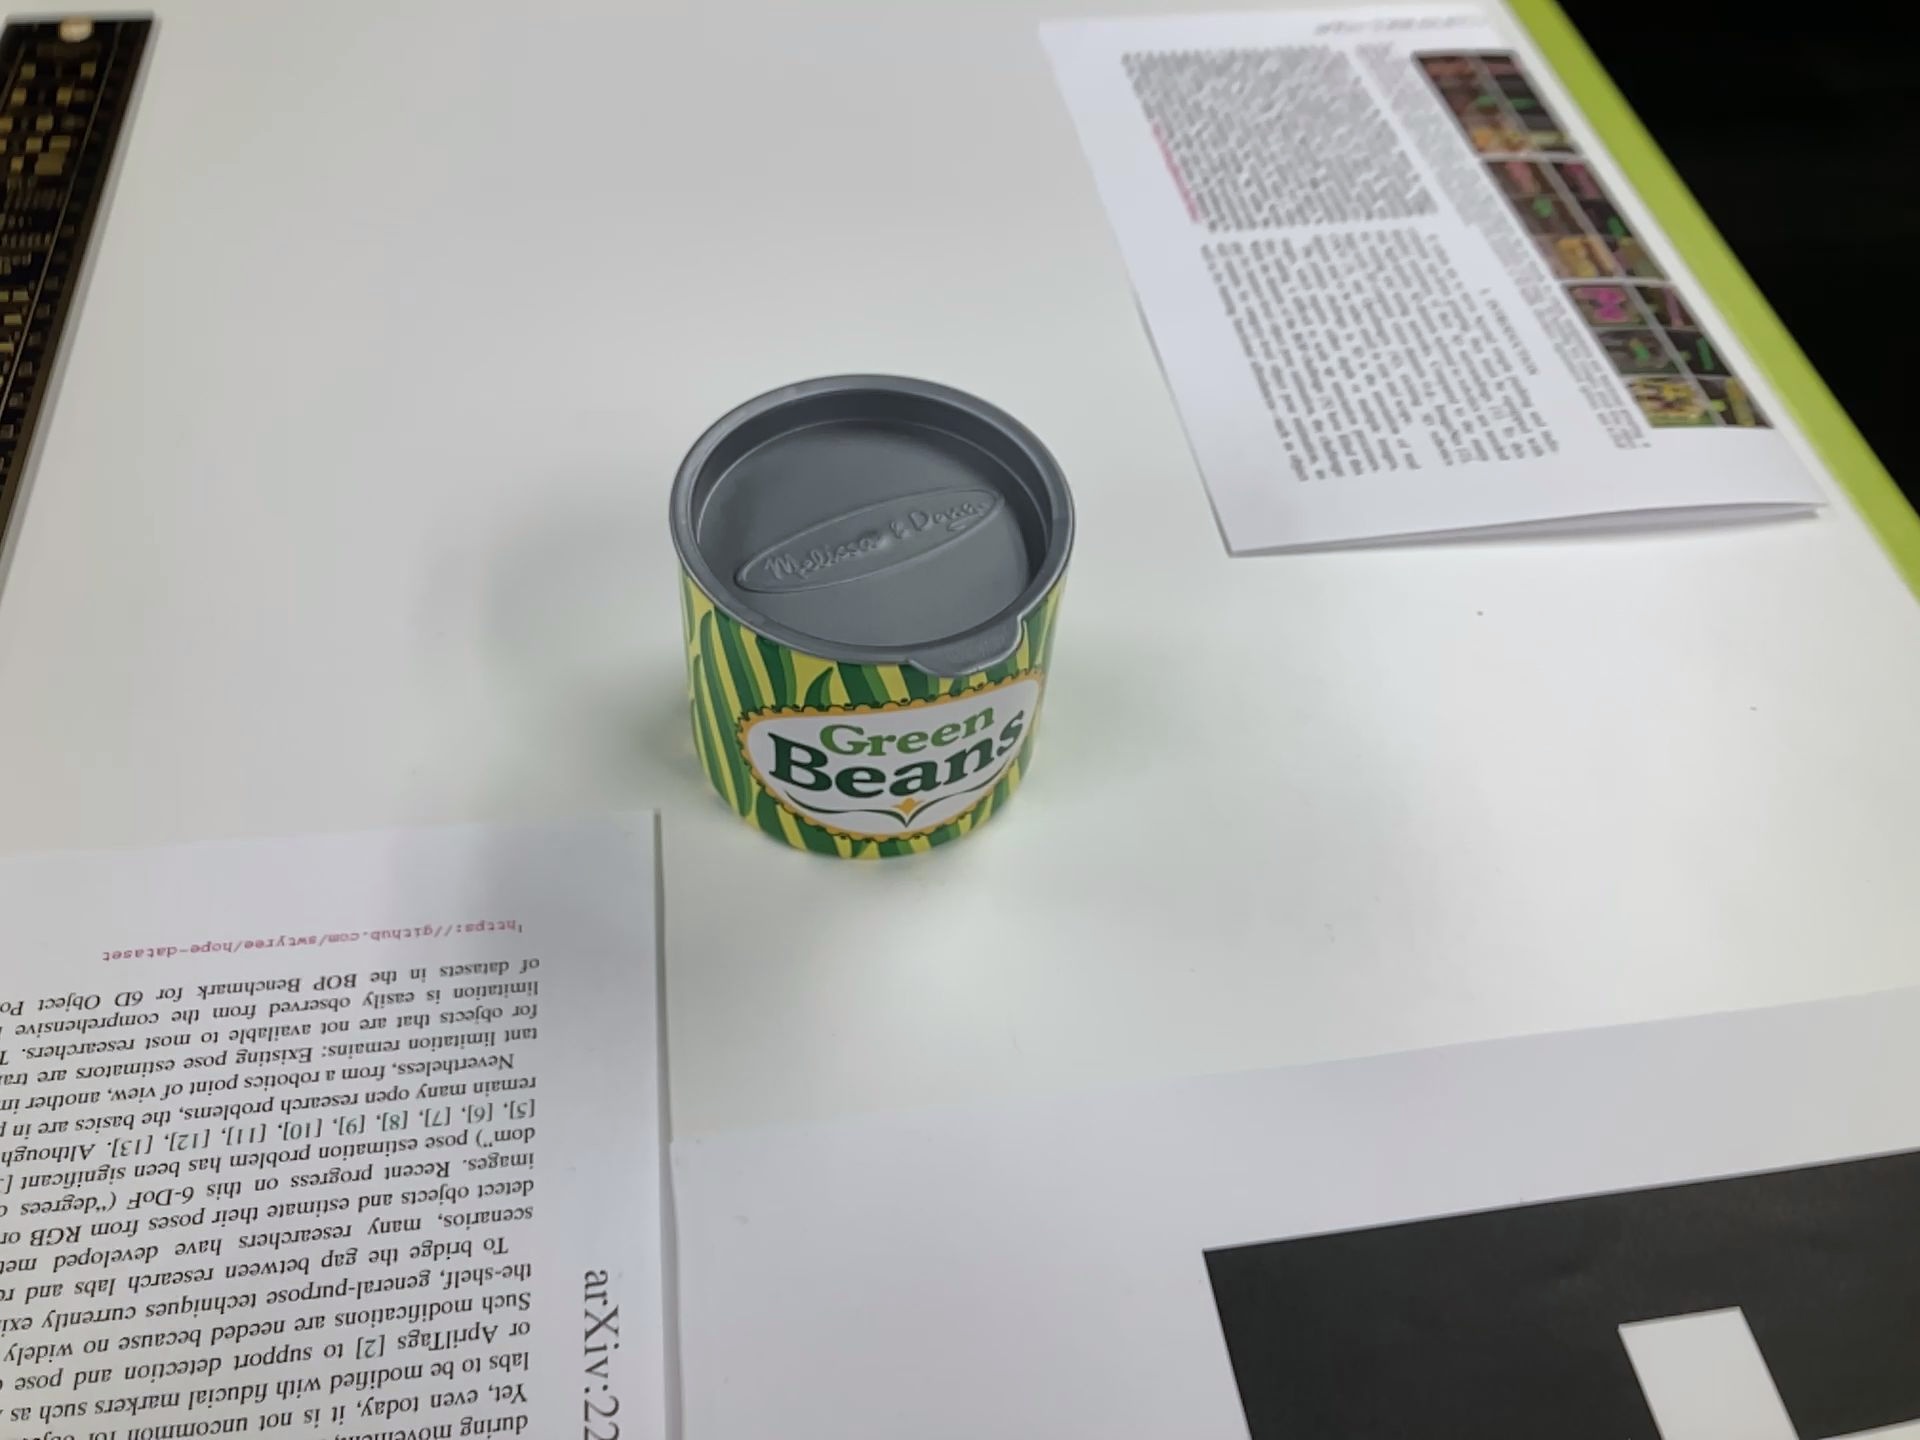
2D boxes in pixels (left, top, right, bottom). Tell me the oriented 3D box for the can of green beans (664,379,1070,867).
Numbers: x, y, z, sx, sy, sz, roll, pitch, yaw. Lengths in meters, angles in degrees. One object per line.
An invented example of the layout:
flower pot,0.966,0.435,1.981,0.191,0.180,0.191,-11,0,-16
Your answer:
can of green beans,-0.017,-0.016,0.283,0.071,0.058,0.071,2,51,-3
